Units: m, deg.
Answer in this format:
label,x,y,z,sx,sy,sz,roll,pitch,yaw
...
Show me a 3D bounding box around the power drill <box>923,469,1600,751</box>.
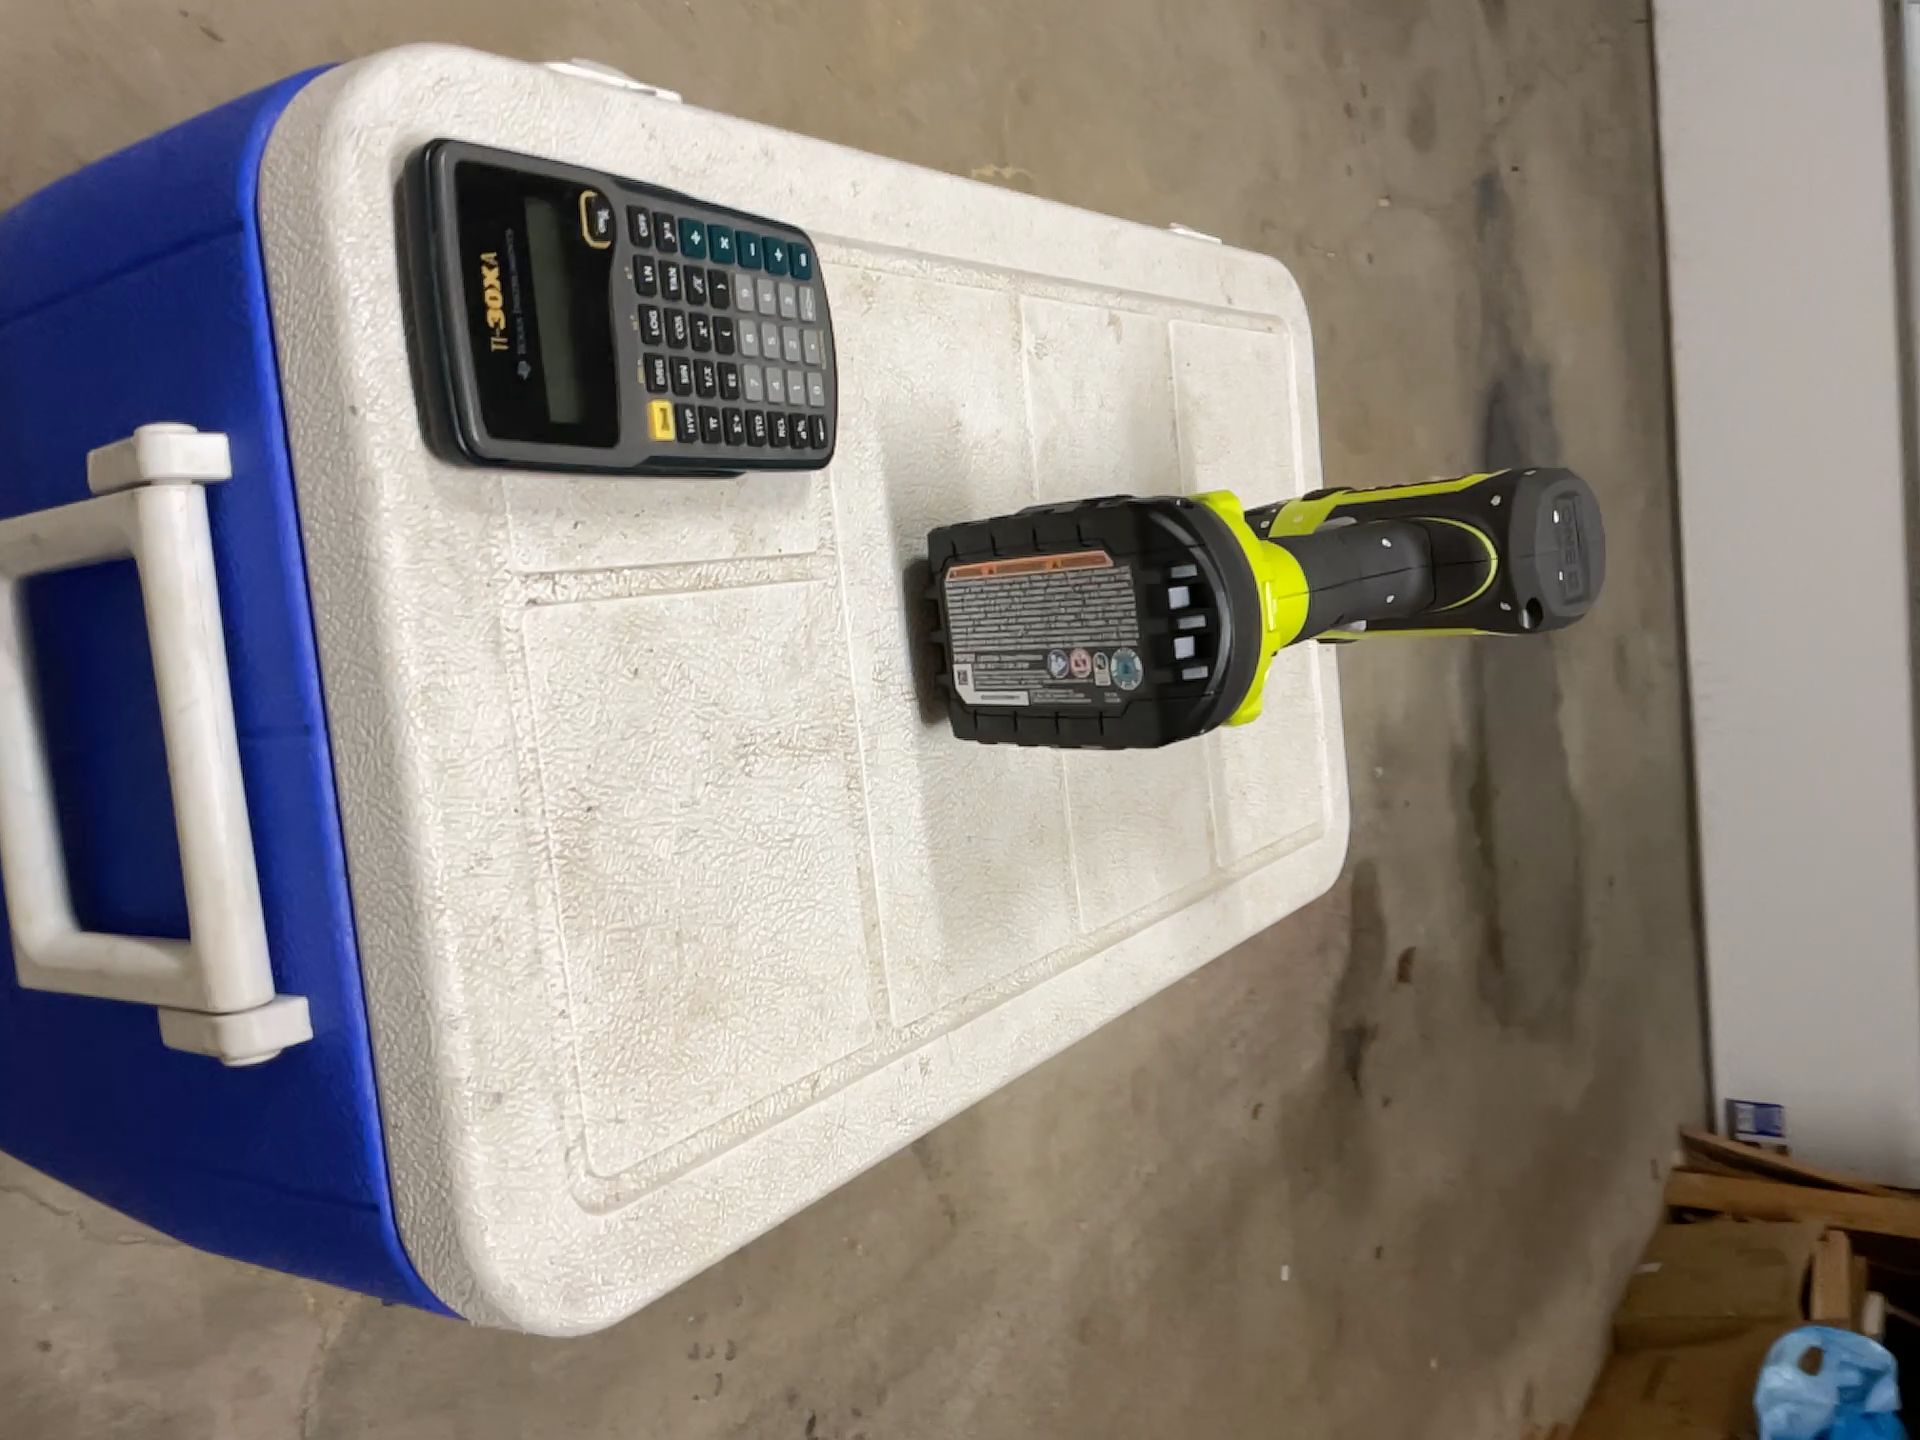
label,x,y,z,sx,sy,sz,roll,pitch,yaw
power drill,0.099,-0.049,0.600,0.229,0.190,0.080,-13,99,-40
